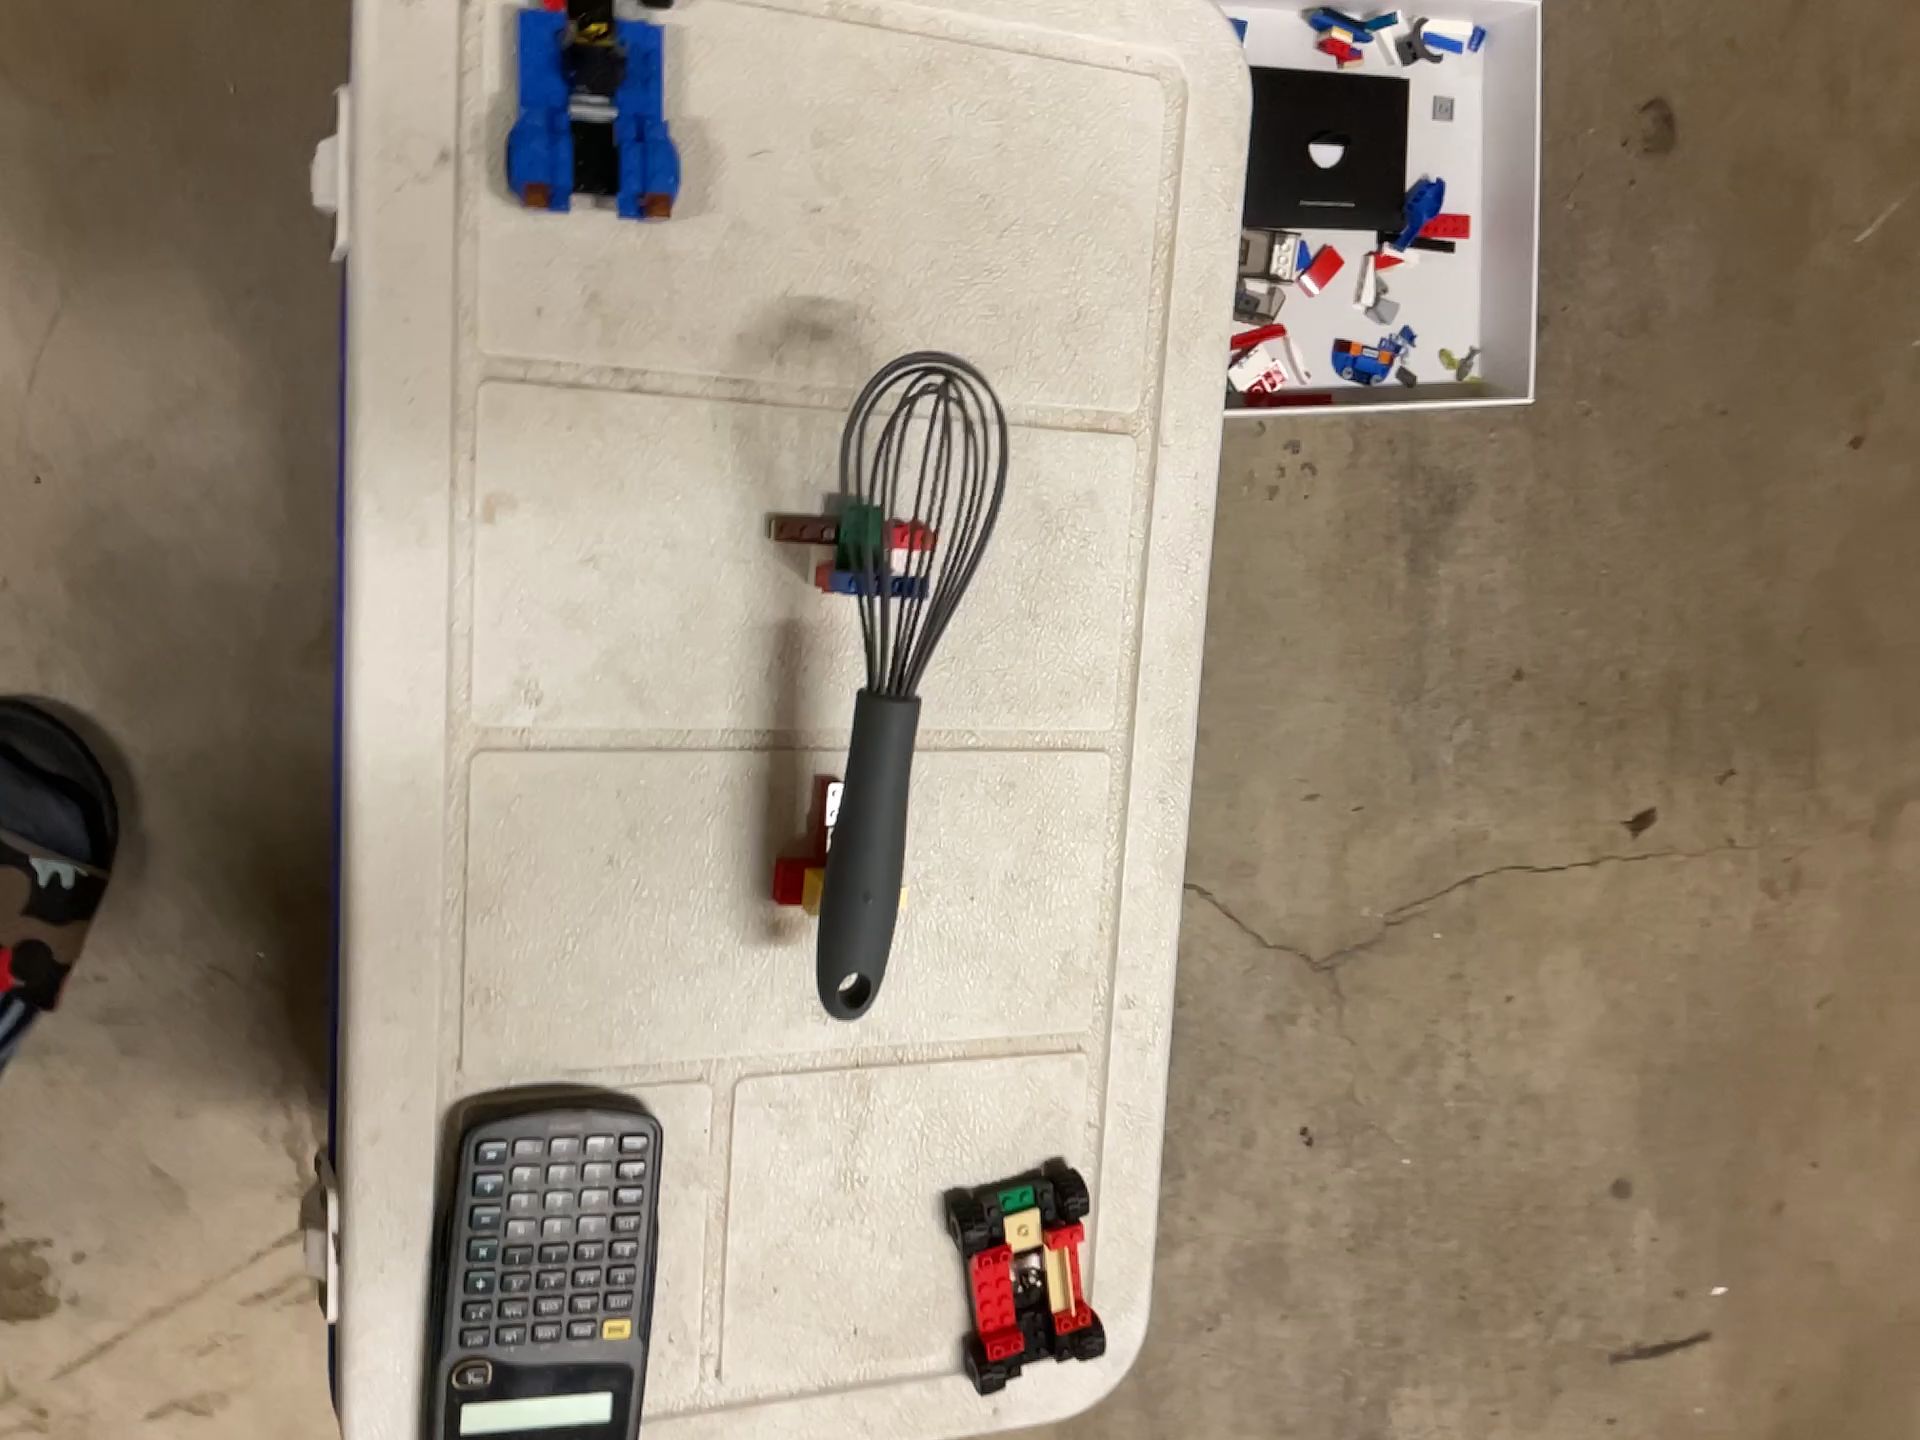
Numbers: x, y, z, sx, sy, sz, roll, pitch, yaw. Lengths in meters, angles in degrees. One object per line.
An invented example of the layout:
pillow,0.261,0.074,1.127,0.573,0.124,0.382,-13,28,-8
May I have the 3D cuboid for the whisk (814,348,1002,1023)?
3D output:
whisk,-0.027,-0.008,0.554,0.055,0.055,0.239,5,102,-20
